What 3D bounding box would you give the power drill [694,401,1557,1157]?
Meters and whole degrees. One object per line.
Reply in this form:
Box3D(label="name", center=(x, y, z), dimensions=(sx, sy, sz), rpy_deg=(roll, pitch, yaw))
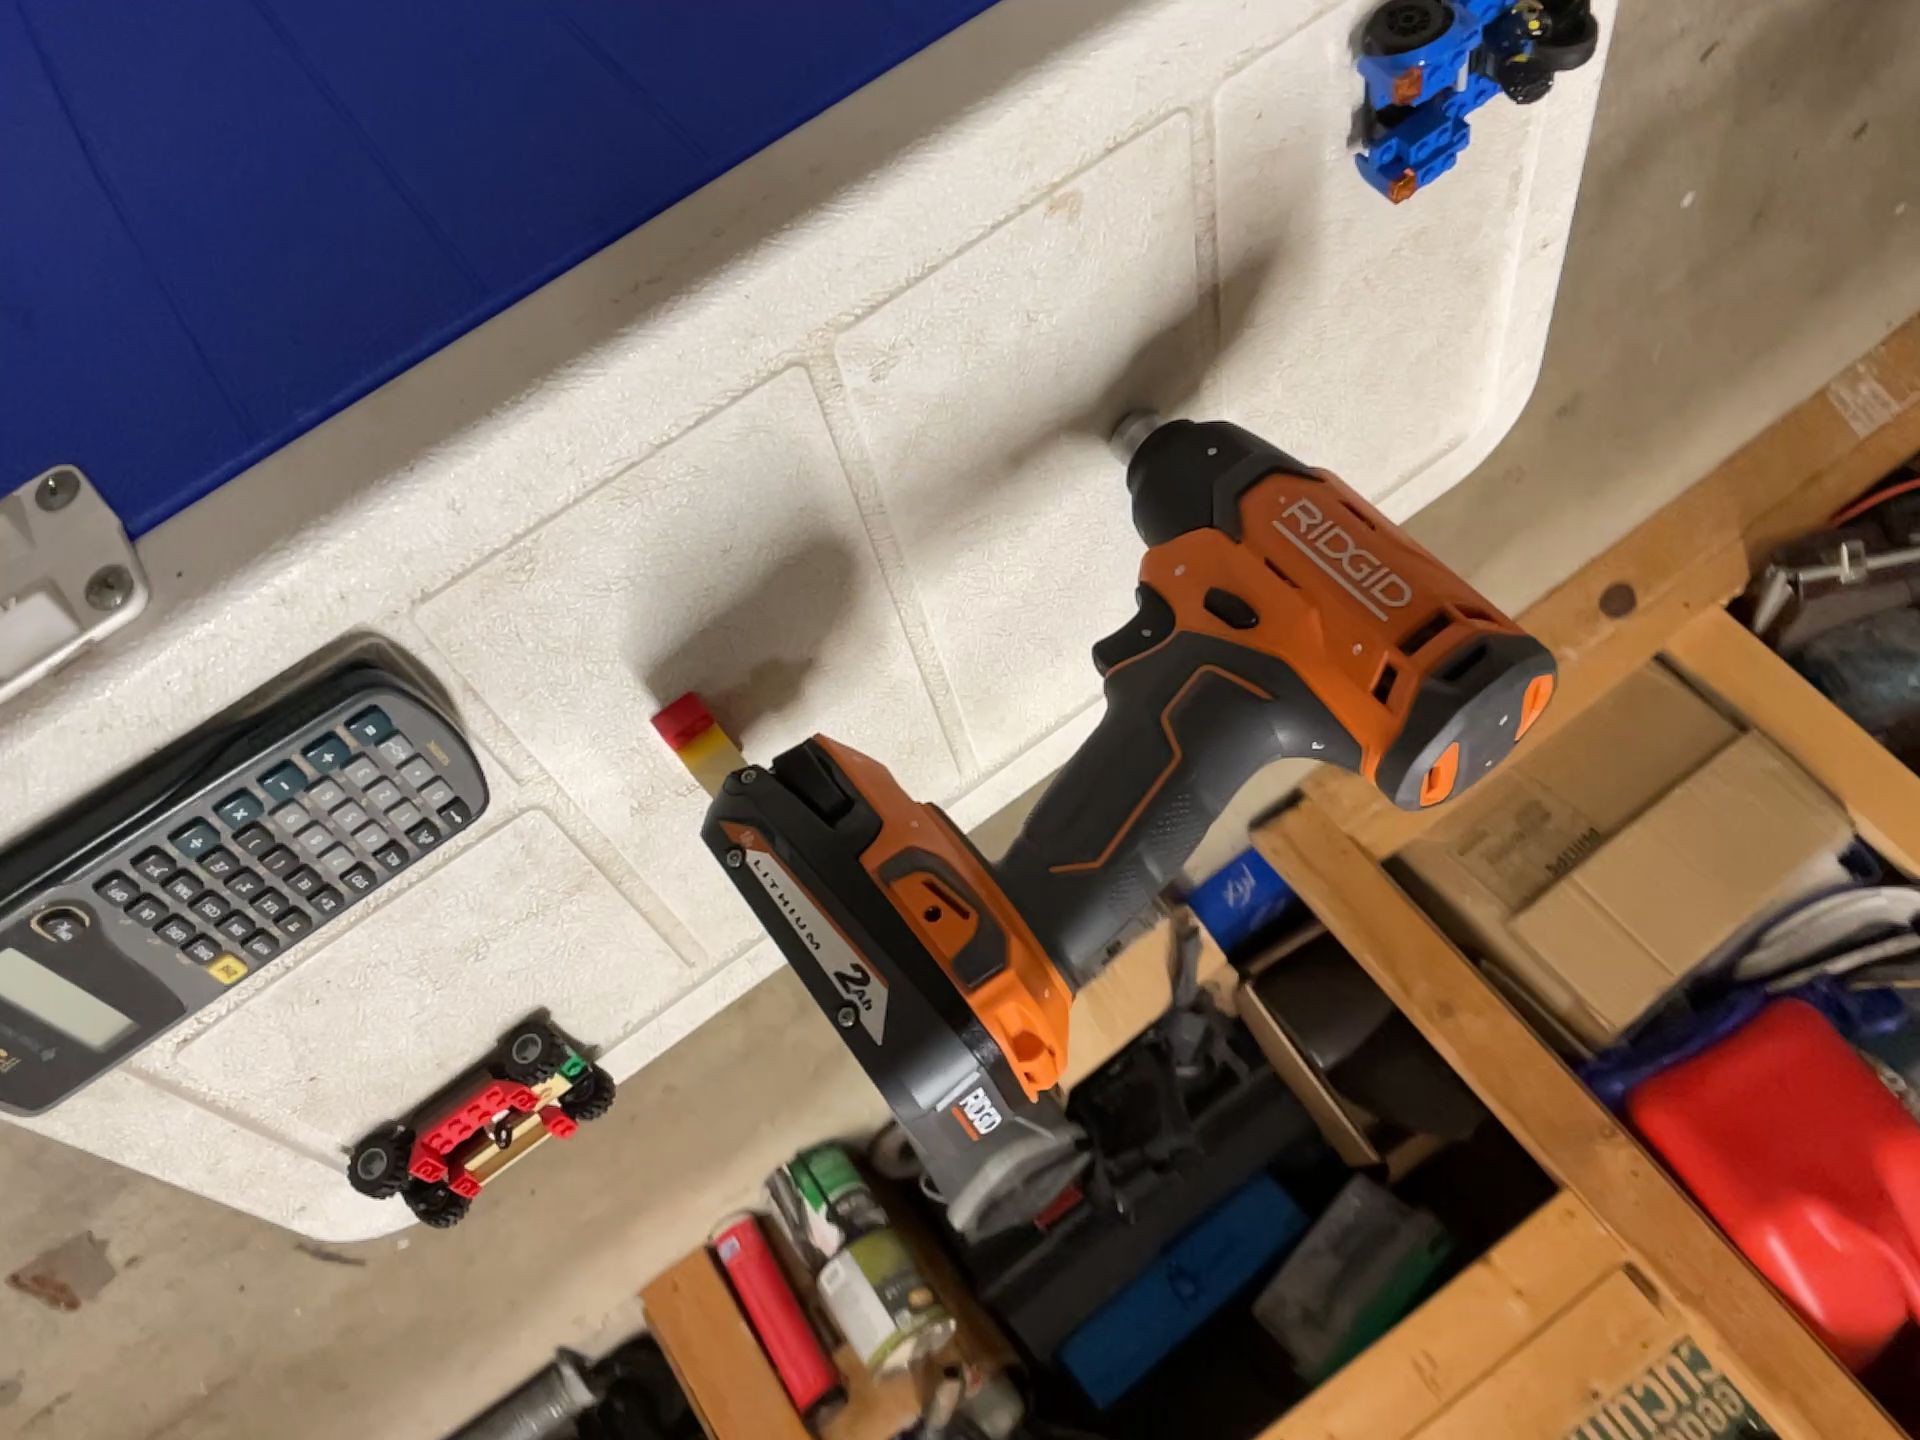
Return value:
Box3D(label="power drill", center=(0.038, 0.002, 0.482), dimensions=(0.226, 0.164, 0.084), rpy_deg=(-36, 150, -8))
